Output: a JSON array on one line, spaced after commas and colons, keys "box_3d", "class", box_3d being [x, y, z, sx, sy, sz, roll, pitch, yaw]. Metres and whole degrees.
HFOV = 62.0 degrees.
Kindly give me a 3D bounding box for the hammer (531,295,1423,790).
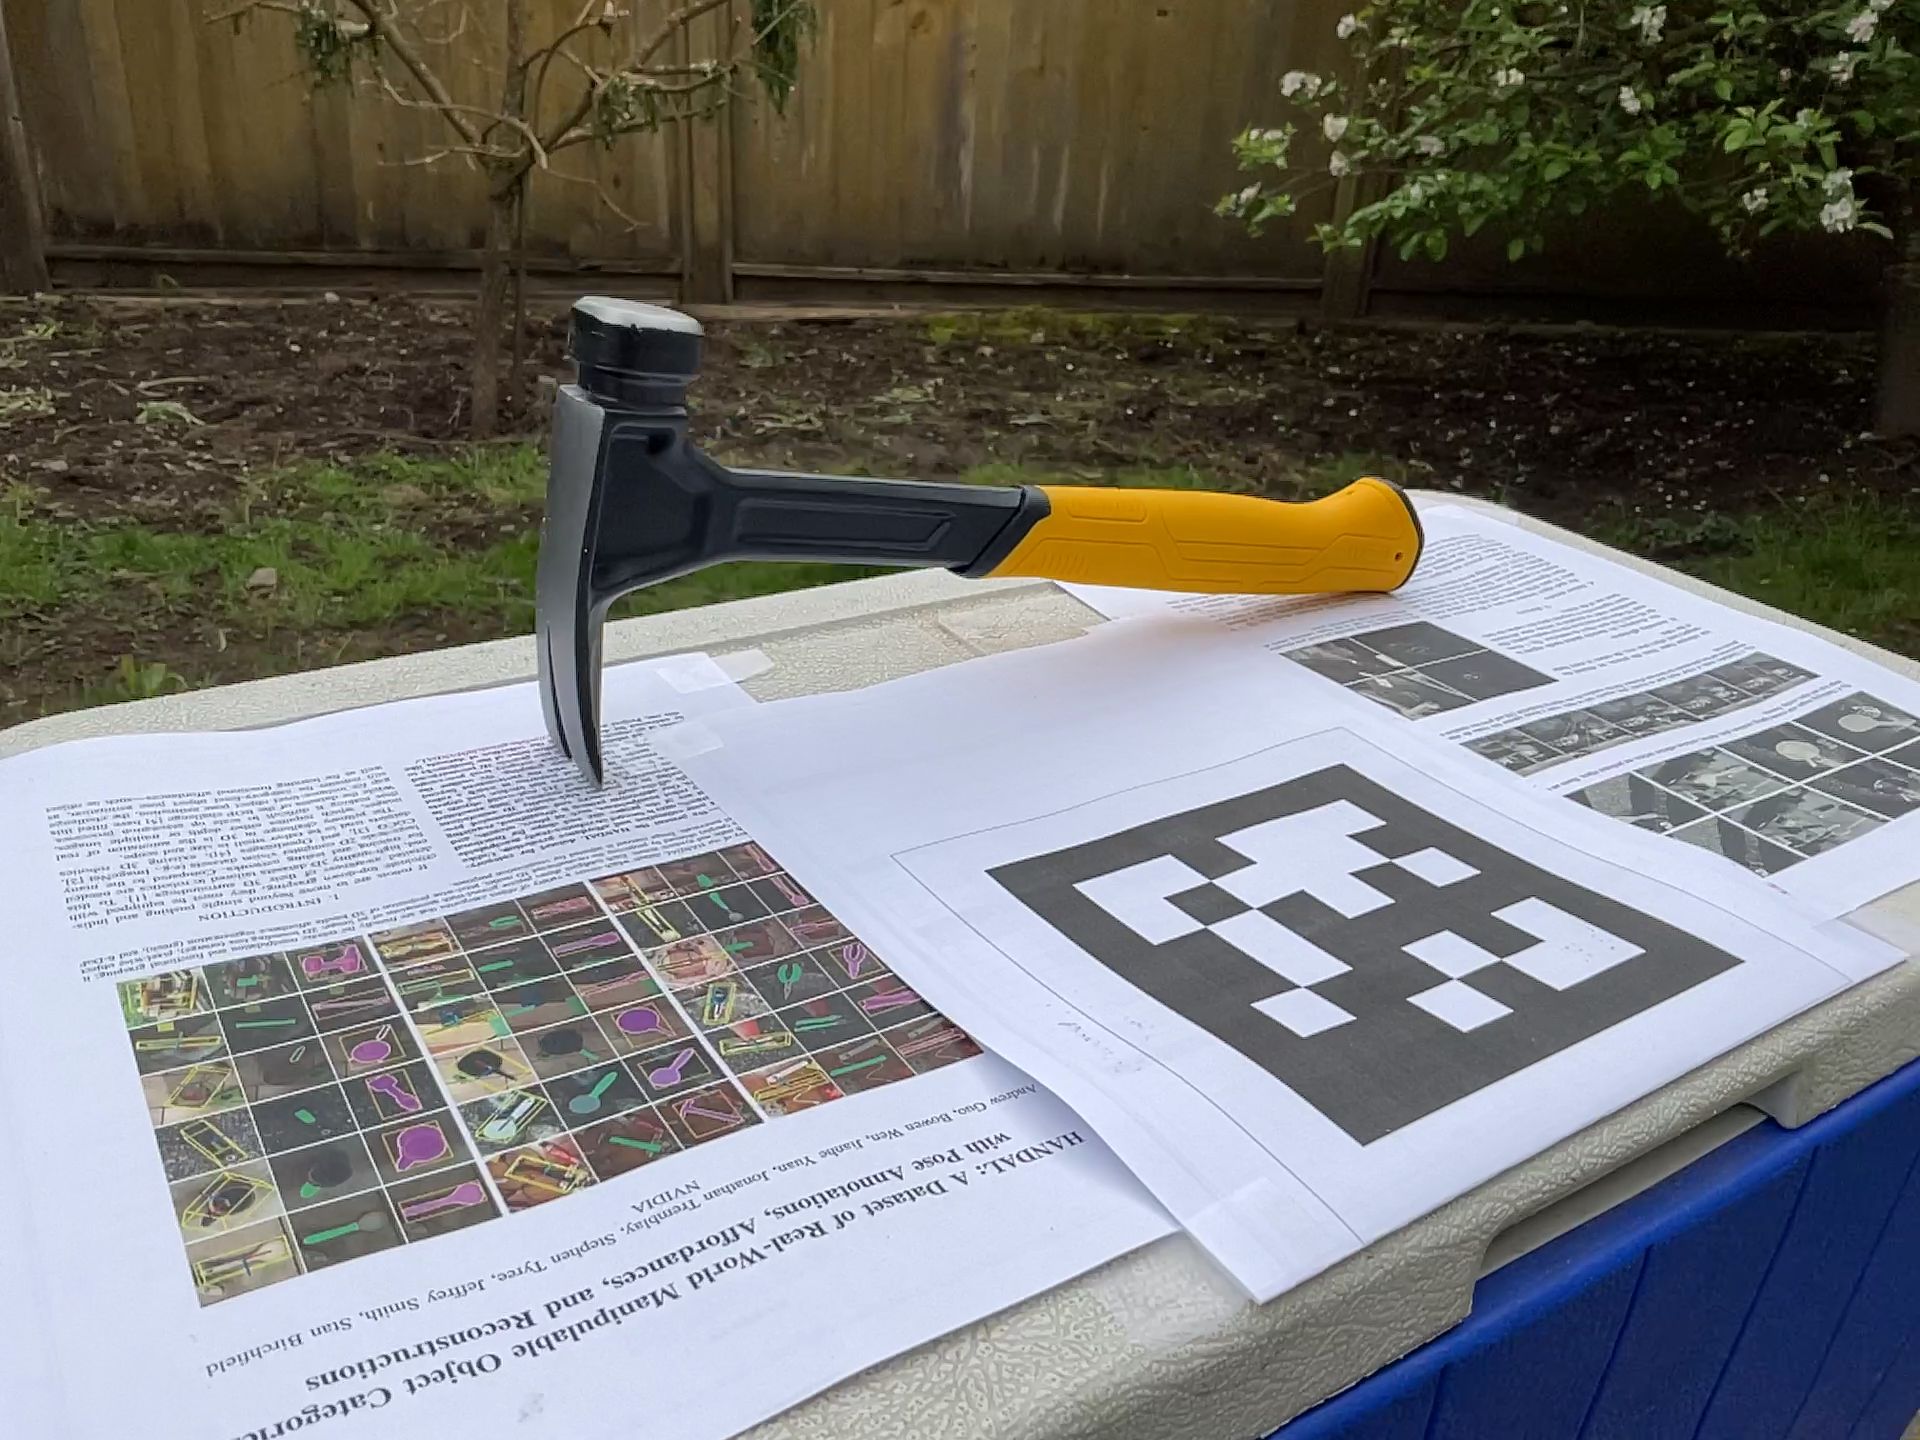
[{"box_3d": [0.028, -0.052, 0.512, 0.336, 0.127, 0.034, -3, 24, -36], "class": "hammer"}]
